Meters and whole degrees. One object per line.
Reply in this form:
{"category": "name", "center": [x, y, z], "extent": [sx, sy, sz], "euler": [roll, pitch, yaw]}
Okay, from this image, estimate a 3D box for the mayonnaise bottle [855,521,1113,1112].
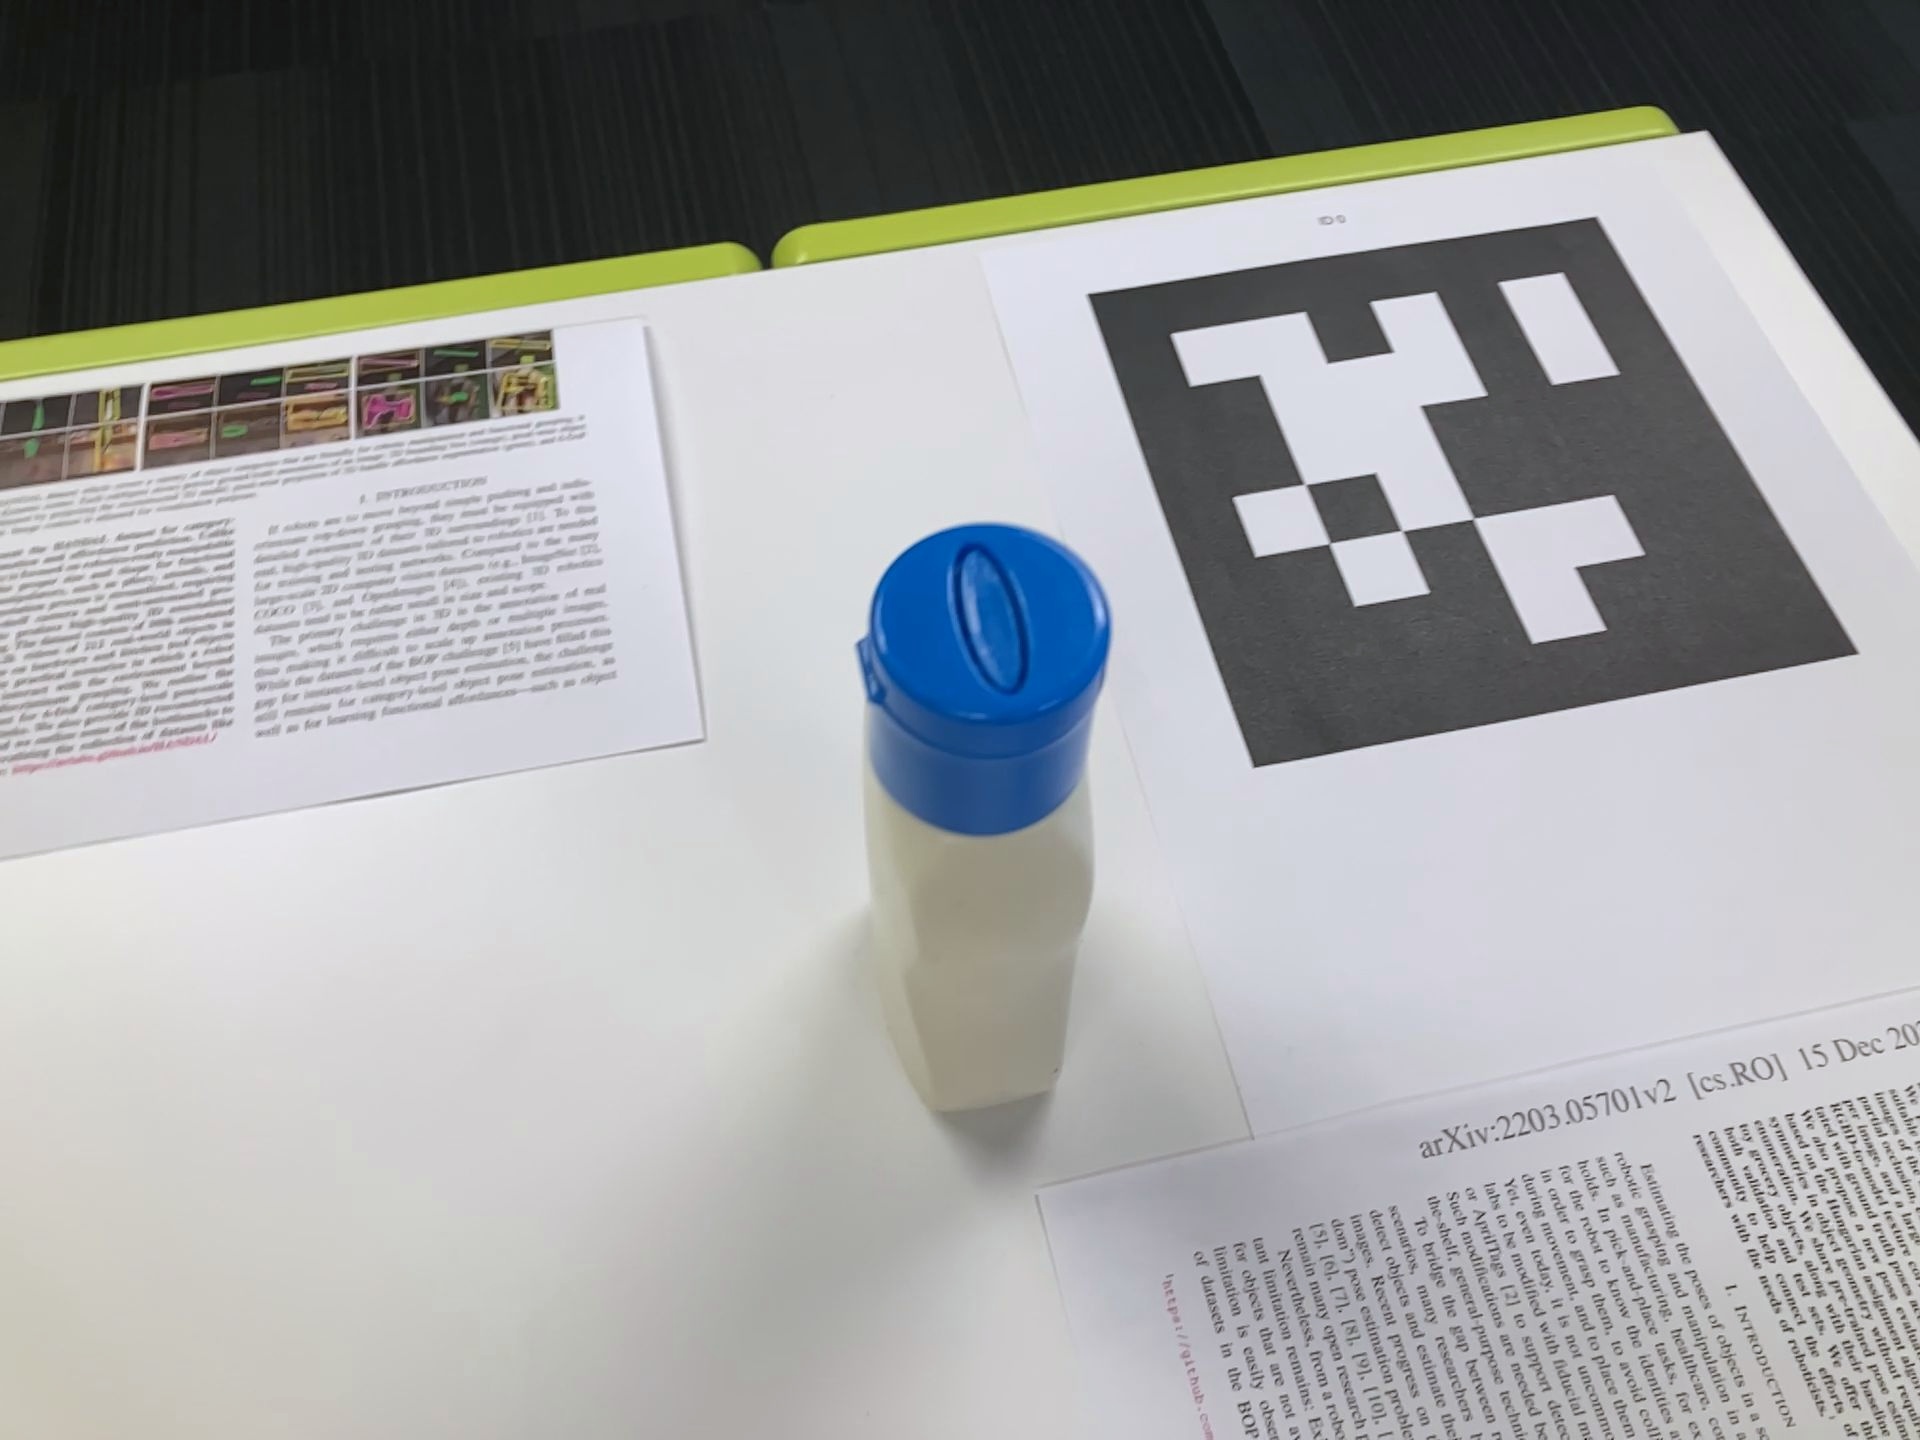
{"category": "mayonnaise bottle", "center": [0.003, 0.022, 0.293], "extent": [0.041, 0.148, 0.065], "euler": [-10, 60, -7]}
